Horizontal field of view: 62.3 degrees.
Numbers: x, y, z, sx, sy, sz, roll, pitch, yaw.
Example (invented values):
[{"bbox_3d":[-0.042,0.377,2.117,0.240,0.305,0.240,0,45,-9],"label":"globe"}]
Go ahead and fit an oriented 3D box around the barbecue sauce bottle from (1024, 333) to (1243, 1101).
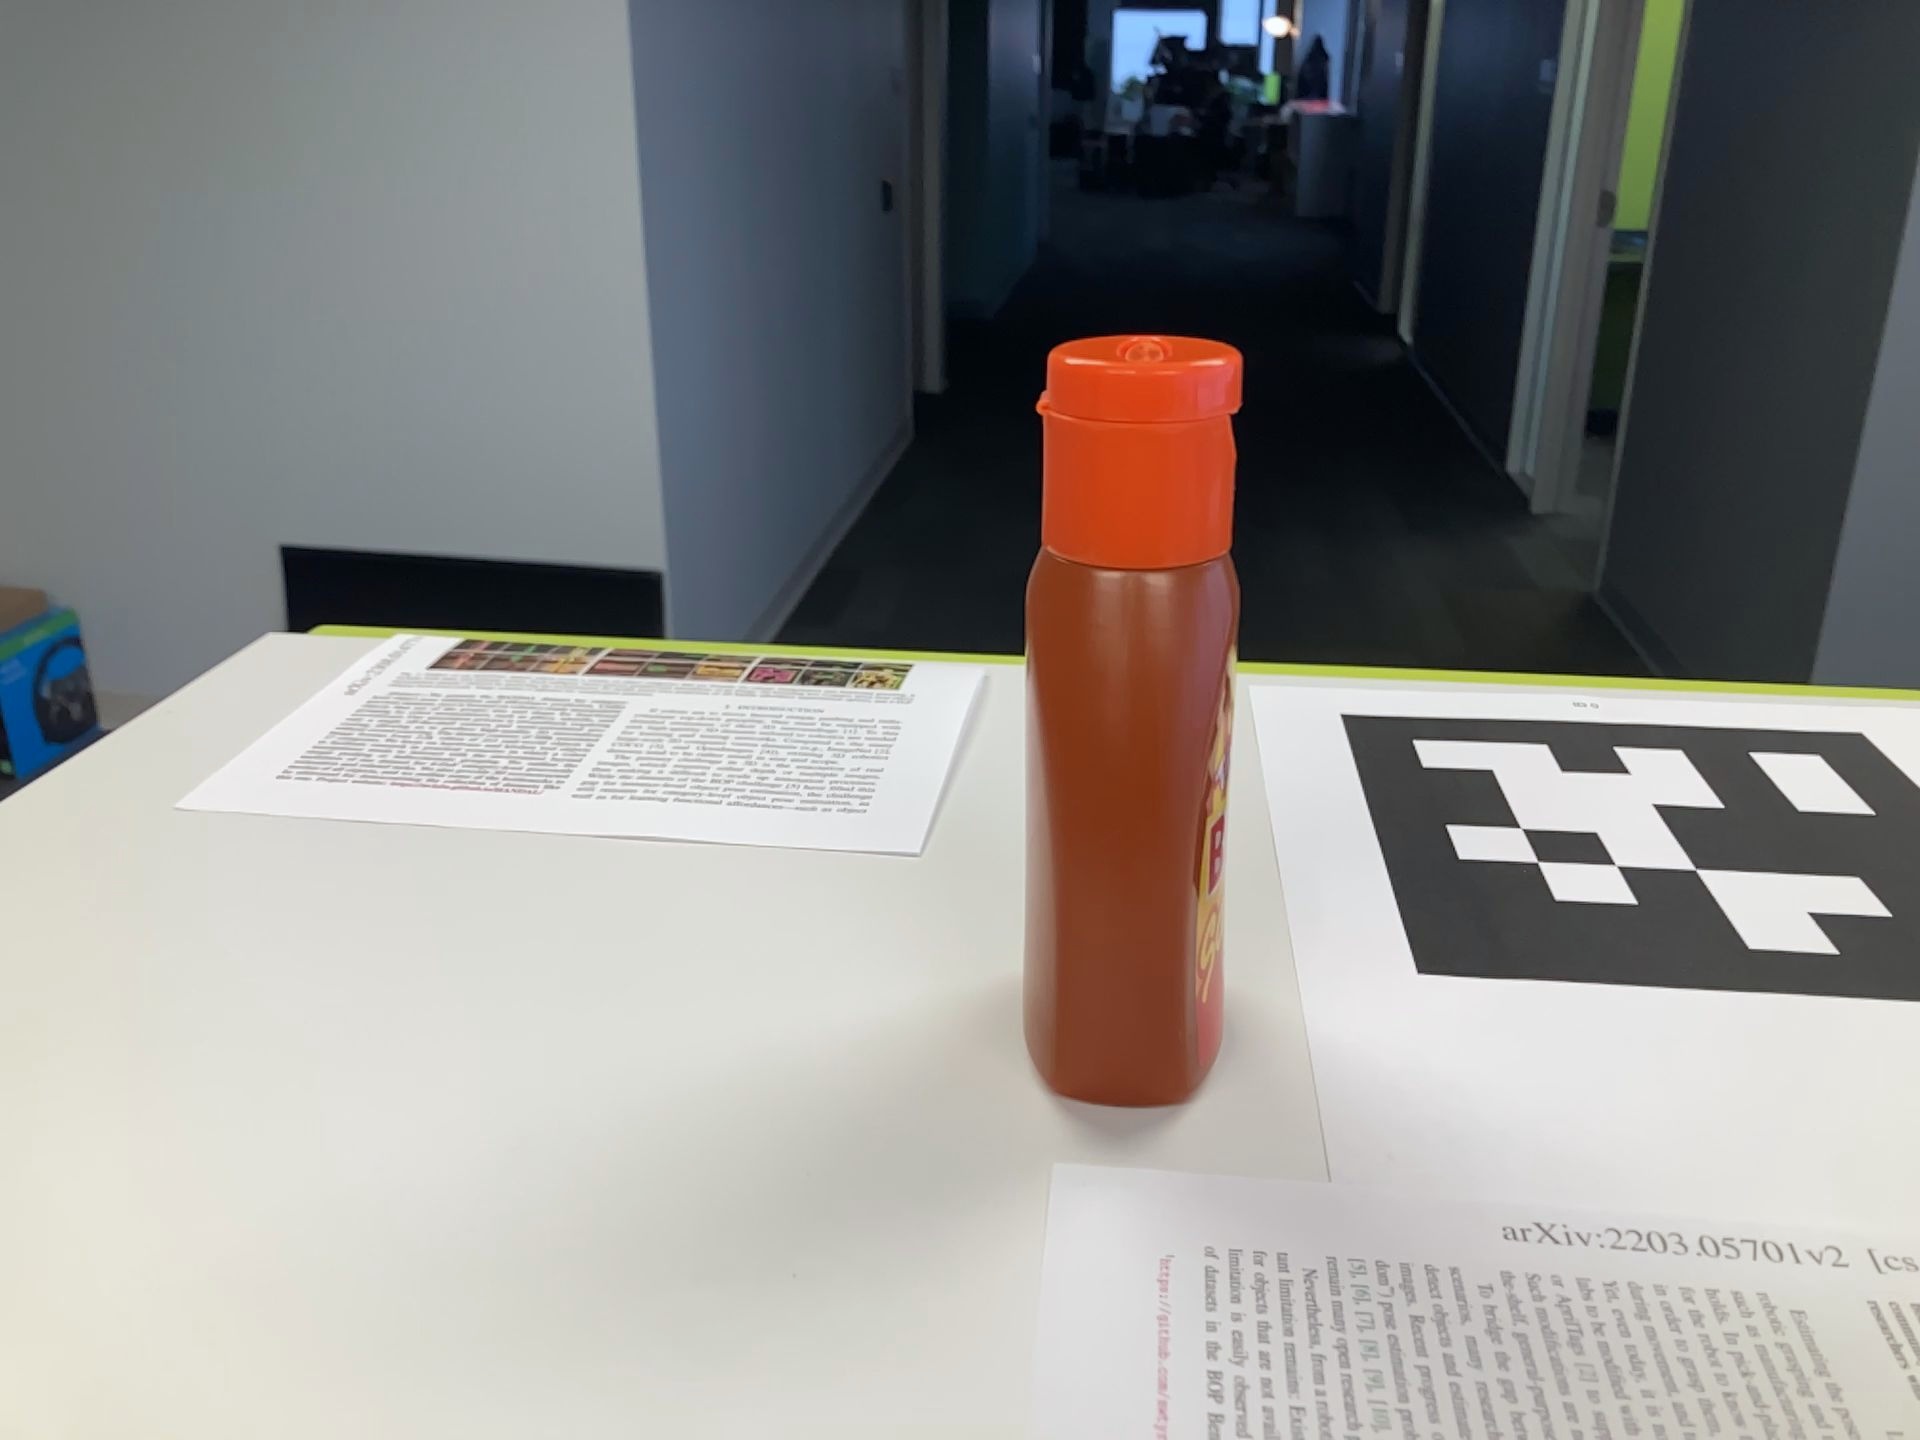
[{"bbox_3d":[0.035,-0.001,0.323,0.043,0.148,0.065,2,21,8],"label":"barbecue sauce bottle"}]
